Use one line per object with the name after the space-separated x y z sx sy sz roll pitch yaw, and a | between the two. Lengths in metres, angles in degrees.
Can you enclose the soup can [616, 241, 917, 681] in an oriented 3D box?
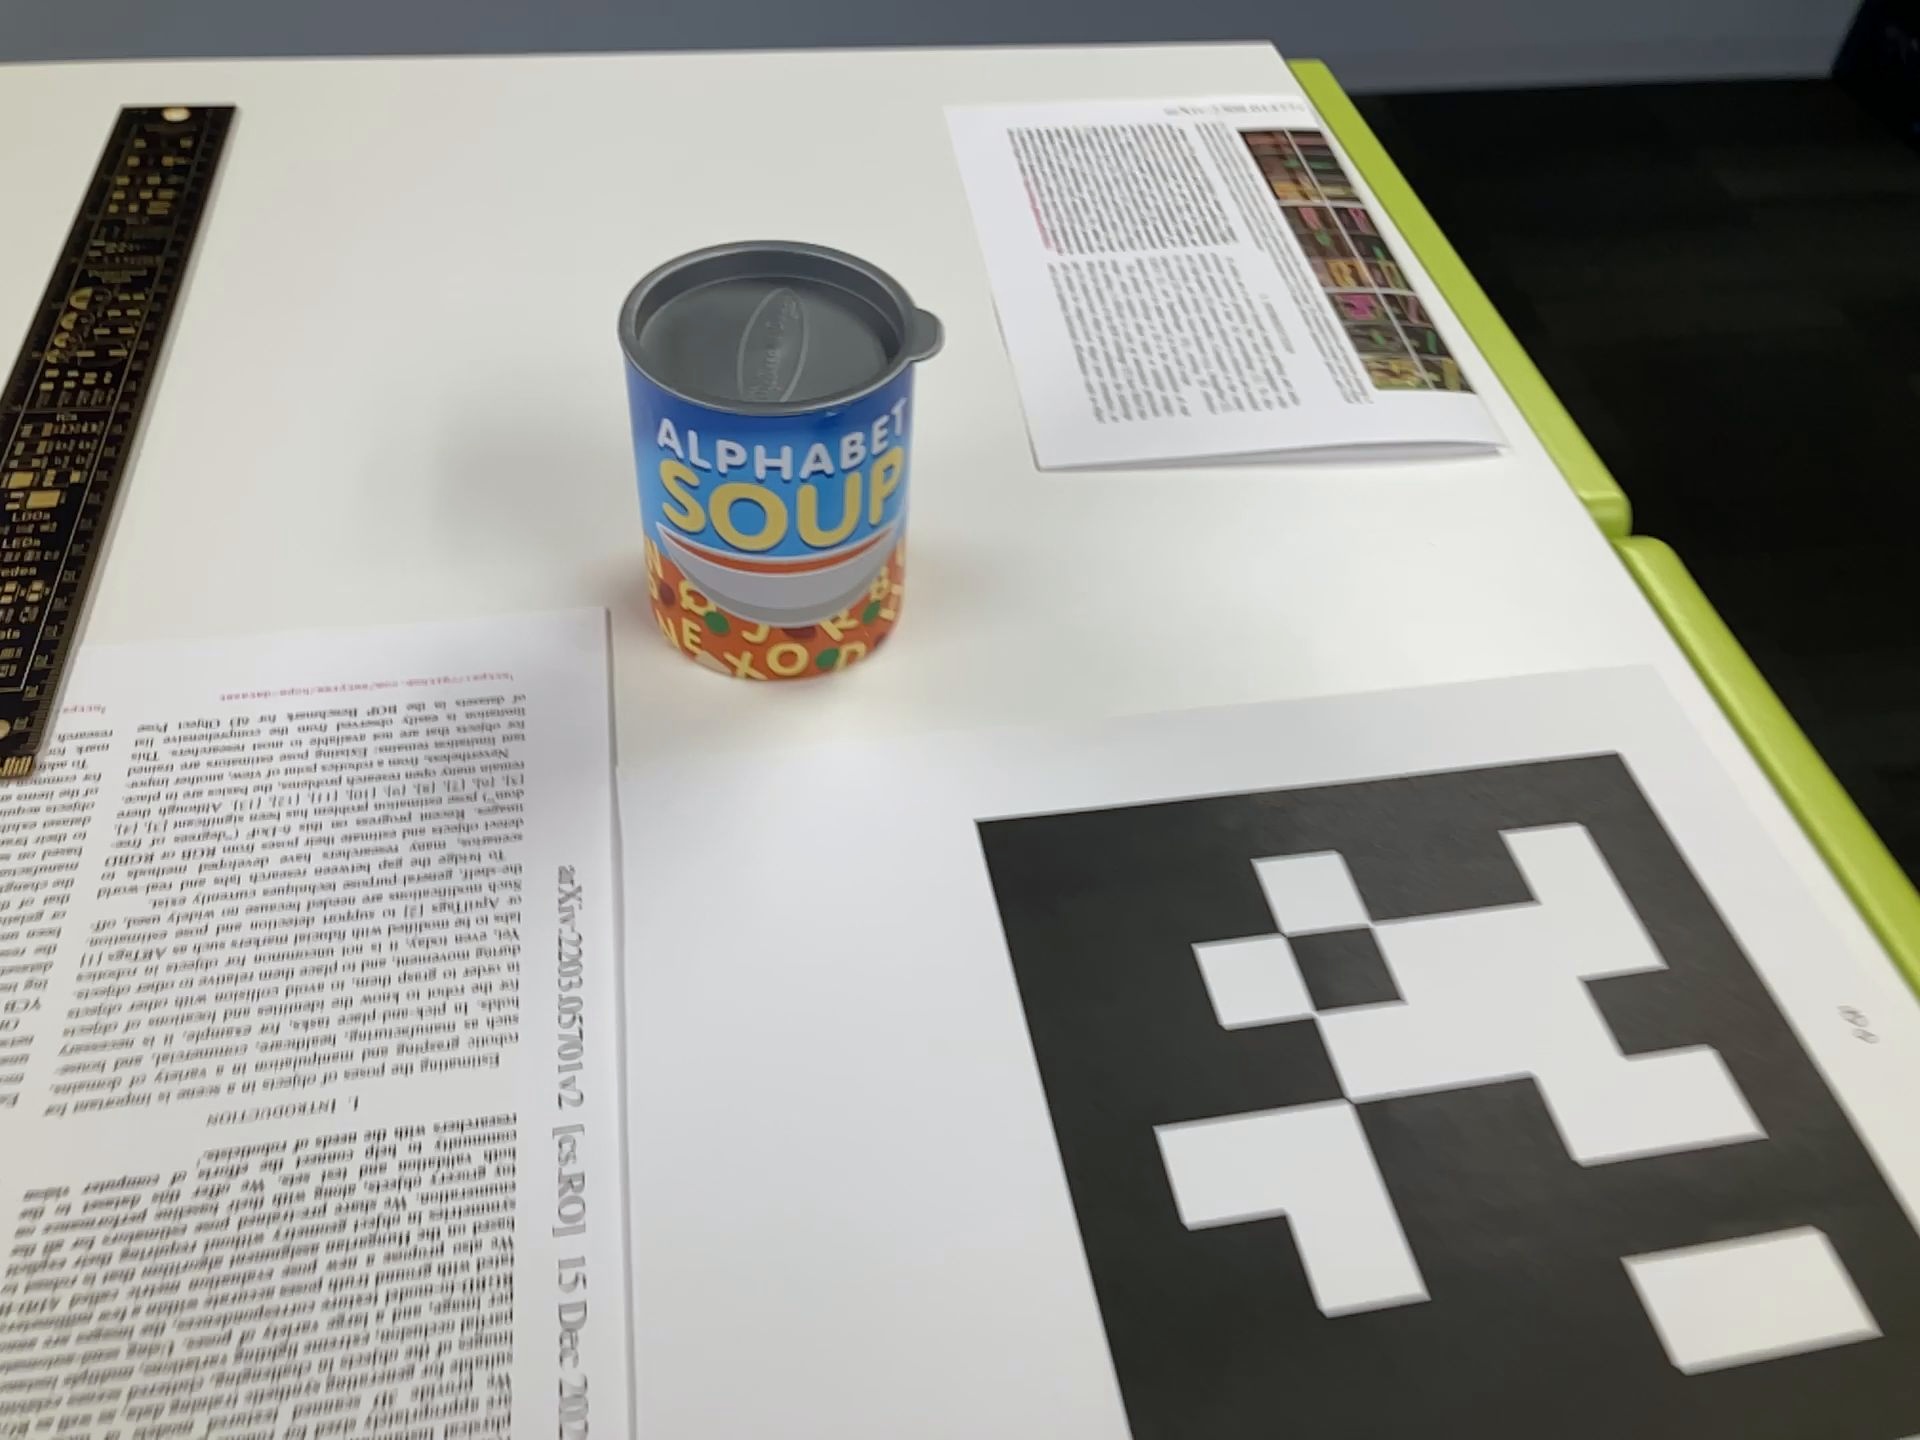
-0.044 -0.059 0.380 0.071 0.084 0.071 2 47 -2 | soup can
